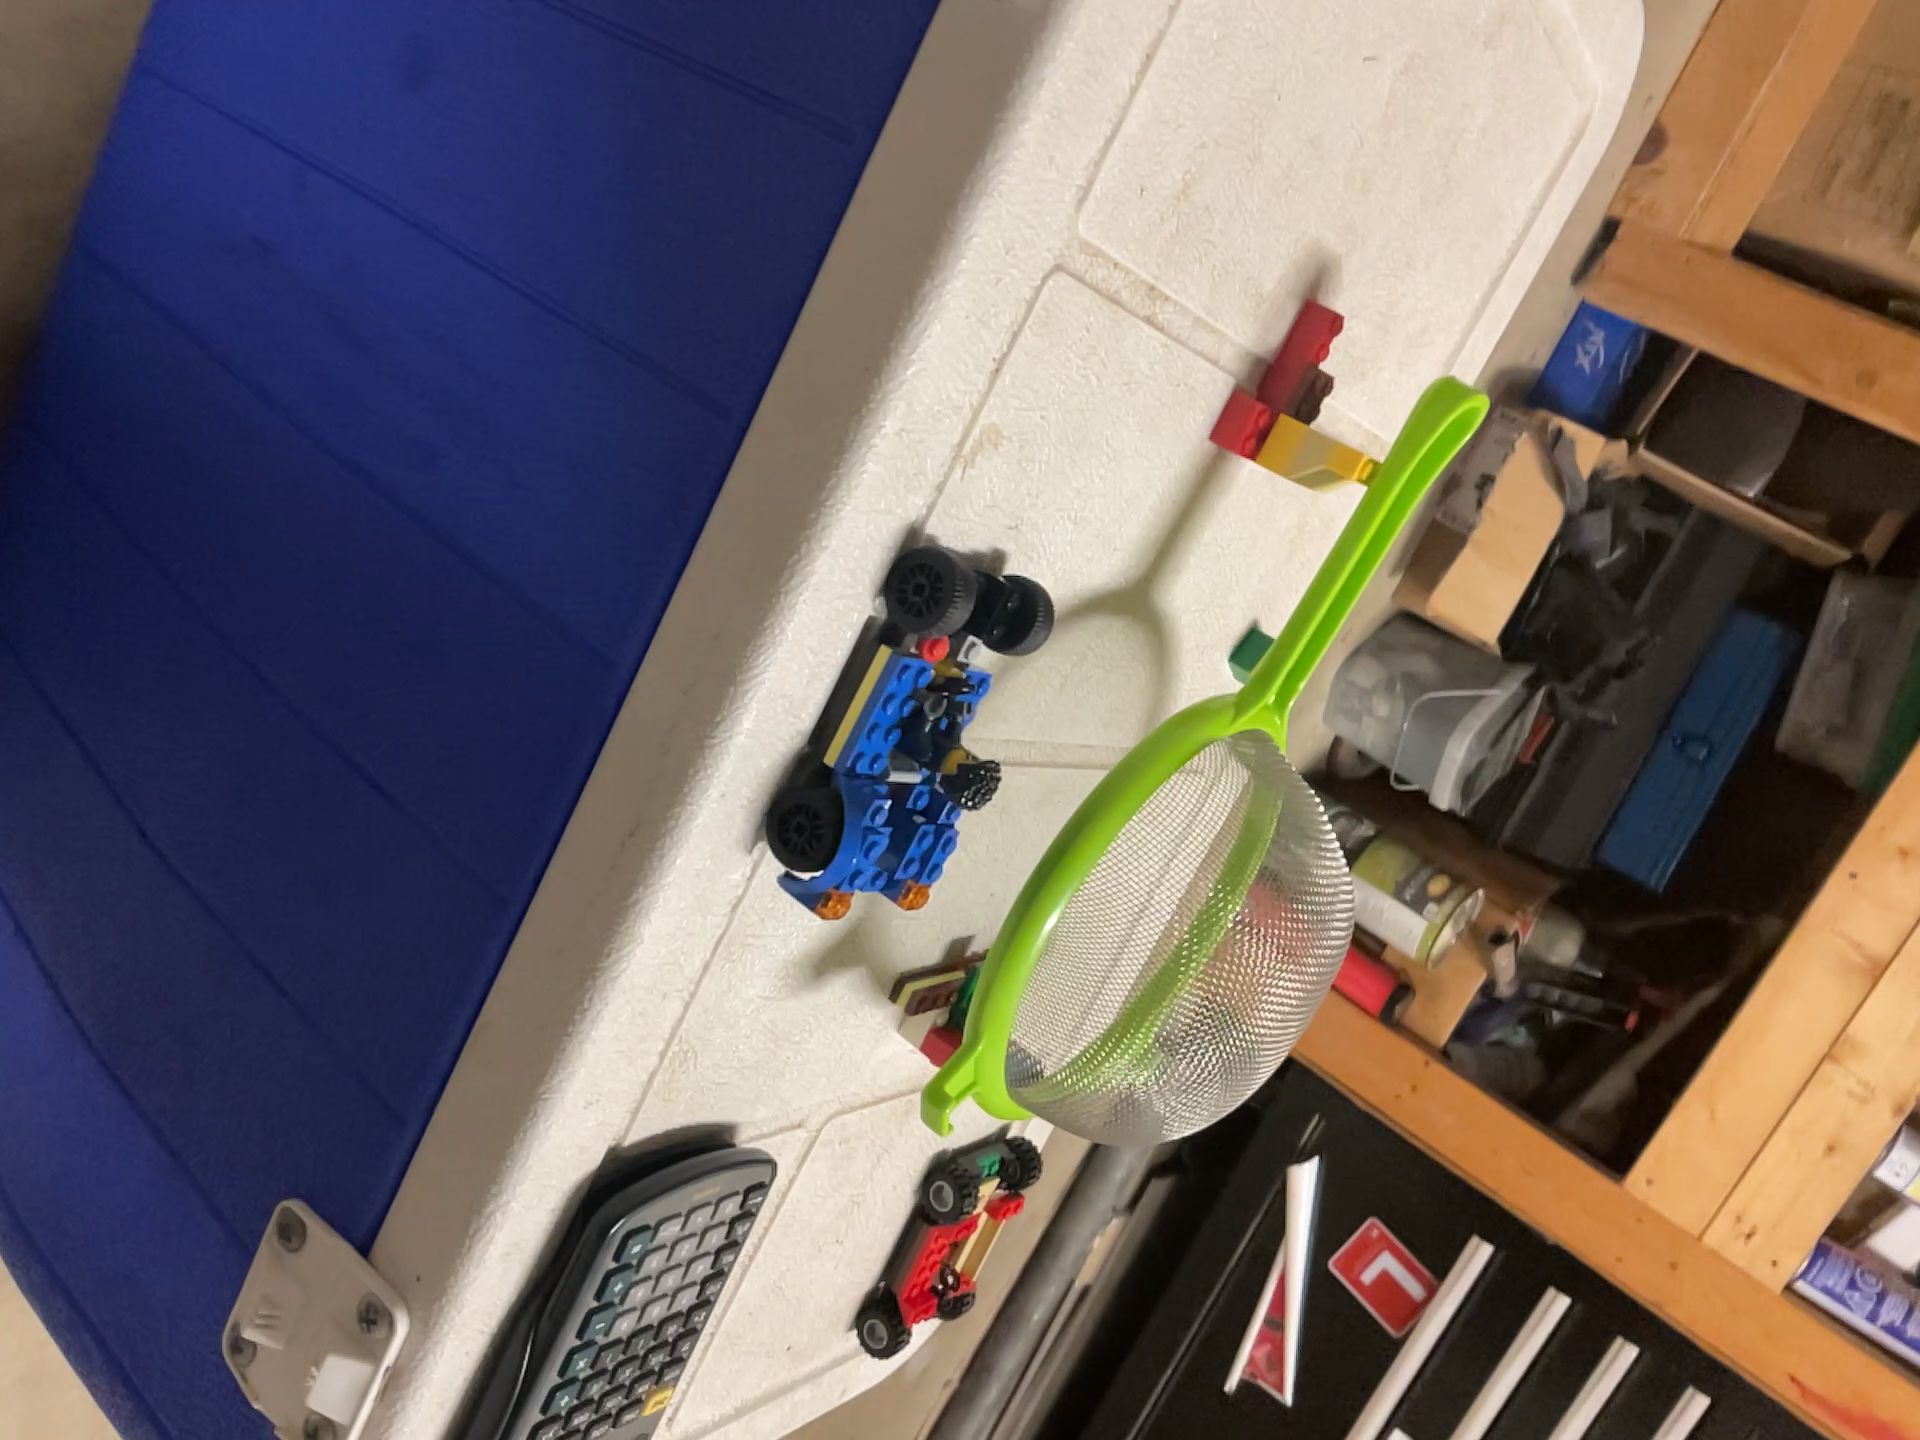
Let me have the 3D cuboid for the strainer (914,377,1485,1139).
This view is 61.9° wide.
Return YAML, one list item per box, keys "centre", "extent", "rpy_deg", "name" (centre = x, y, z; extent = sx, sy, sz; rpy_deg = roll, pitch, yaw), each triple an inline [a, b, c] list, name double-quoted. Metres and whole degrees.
- centre: [0.098, 0.026, 0.468]
  extent: [0.151, 0.069, 0.256]
  rpy_deg: [11, 111, -59]
  name: "strainer"
